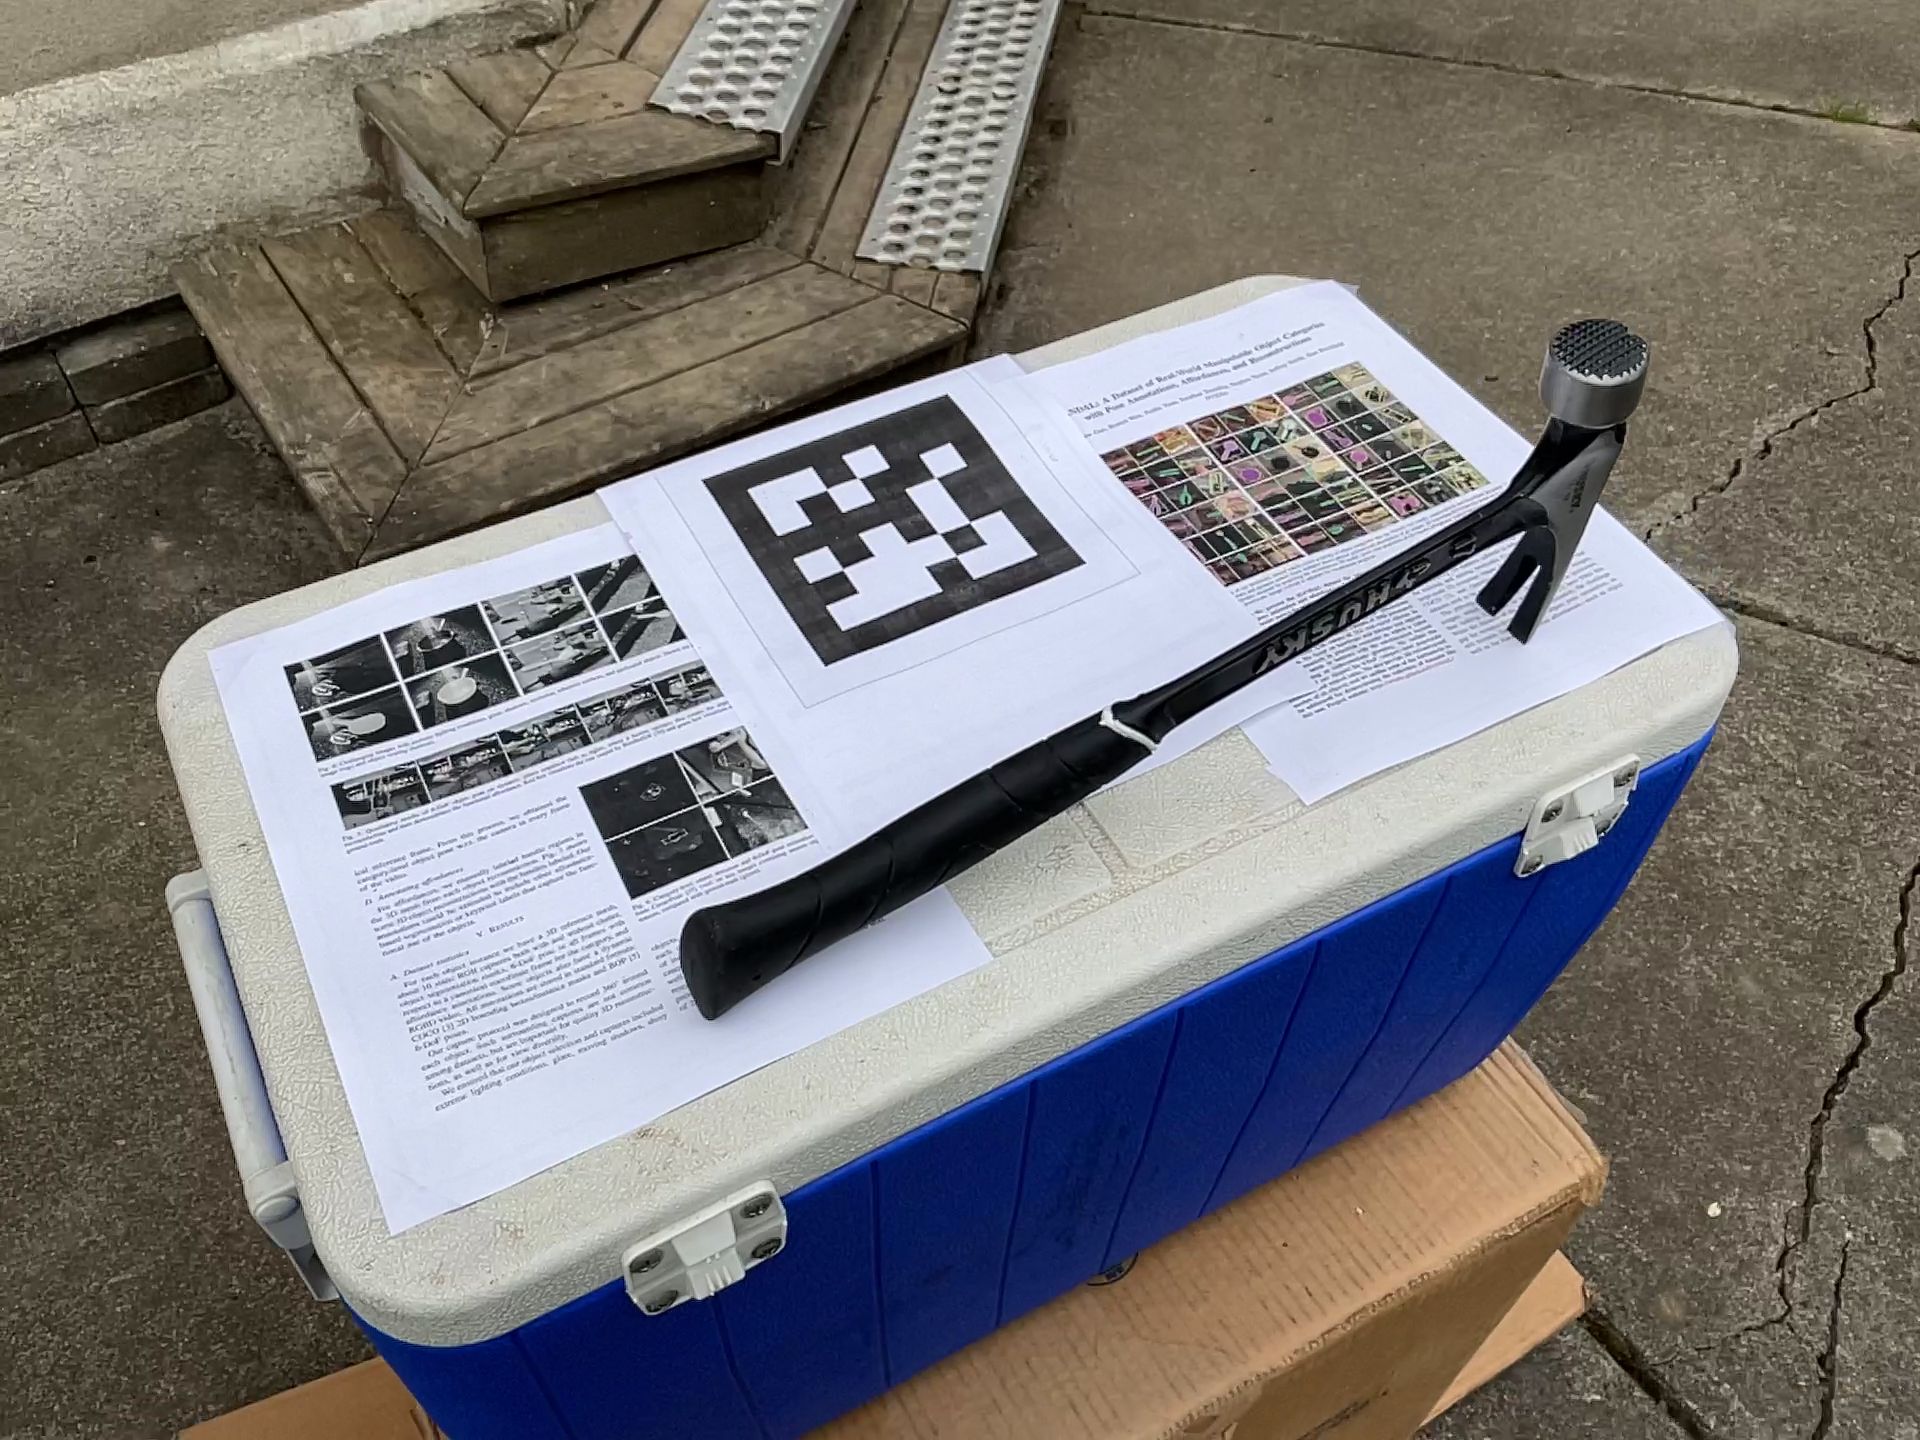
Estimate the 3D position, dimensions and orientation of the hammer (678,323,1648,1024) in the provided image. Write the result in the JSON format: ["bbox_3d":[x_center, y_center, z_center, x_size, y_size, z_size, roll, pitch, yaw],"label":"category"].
[{"bbox_3d":[0.079,-0.003,0.597,0.409,0.149,0.036,-29,56,-12],"label":"hammer"}]
